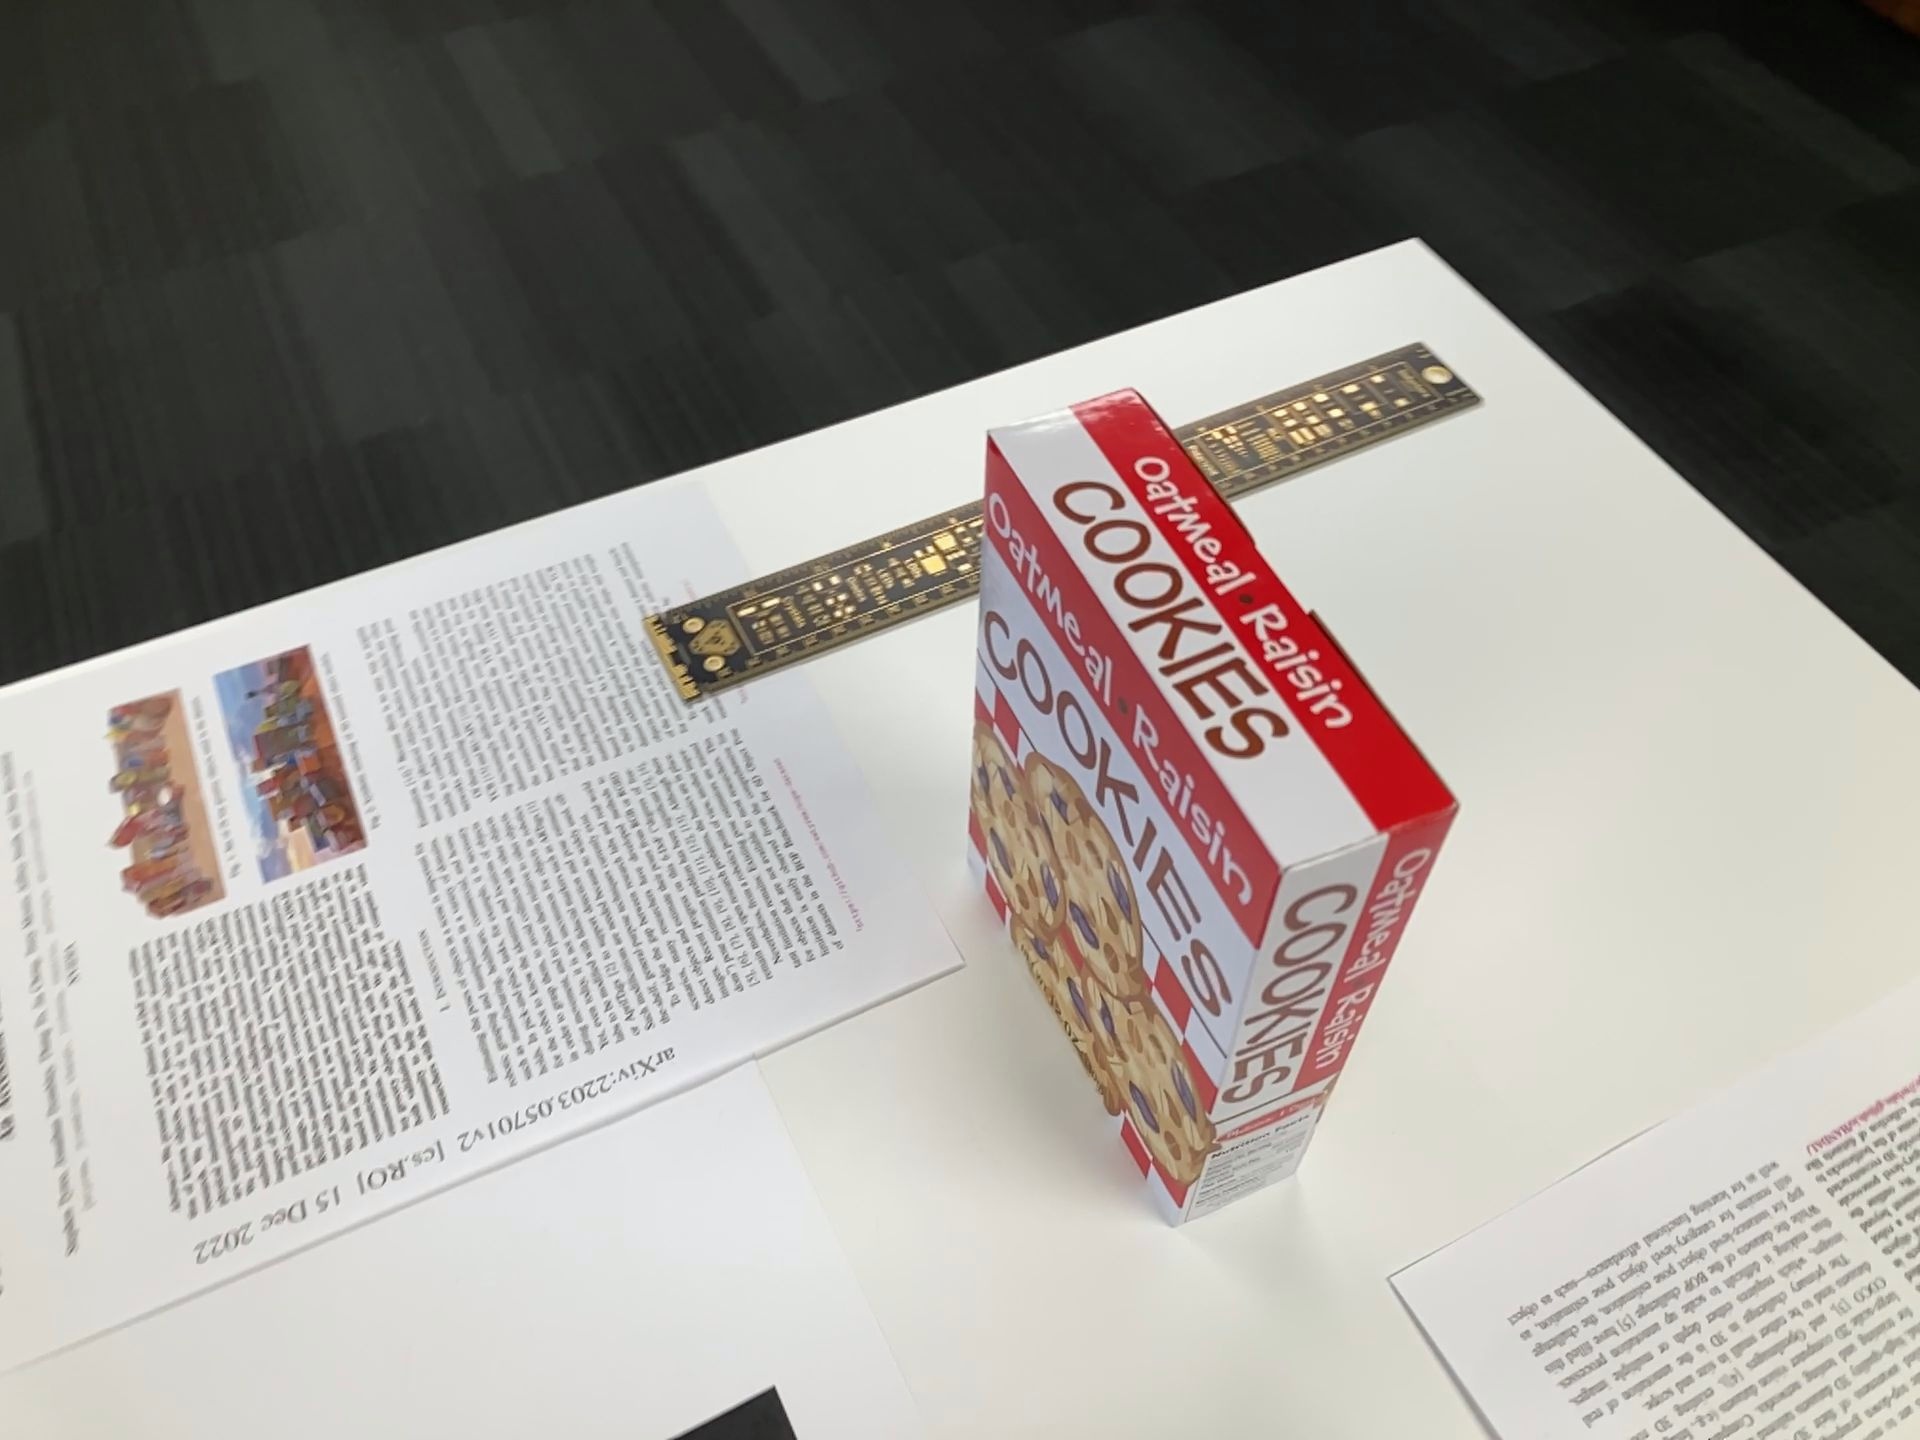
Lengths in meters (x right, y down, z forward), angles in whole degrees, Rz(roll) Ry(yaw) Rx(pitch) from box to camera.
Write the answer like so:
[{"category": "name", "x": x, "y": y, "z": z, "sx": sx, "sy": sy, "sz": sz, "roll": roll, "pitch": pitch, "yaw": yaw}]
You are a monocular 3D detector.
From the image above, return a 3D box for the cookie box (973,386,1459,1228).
[{"category": "cookie box", "x": 0.047, "y": 0.026, "z": 0.369, "sx": 0.040, "sy": 0.167, "sz": 0.123, "roll": -19, "pitch": 54, "yaw": -15}]
